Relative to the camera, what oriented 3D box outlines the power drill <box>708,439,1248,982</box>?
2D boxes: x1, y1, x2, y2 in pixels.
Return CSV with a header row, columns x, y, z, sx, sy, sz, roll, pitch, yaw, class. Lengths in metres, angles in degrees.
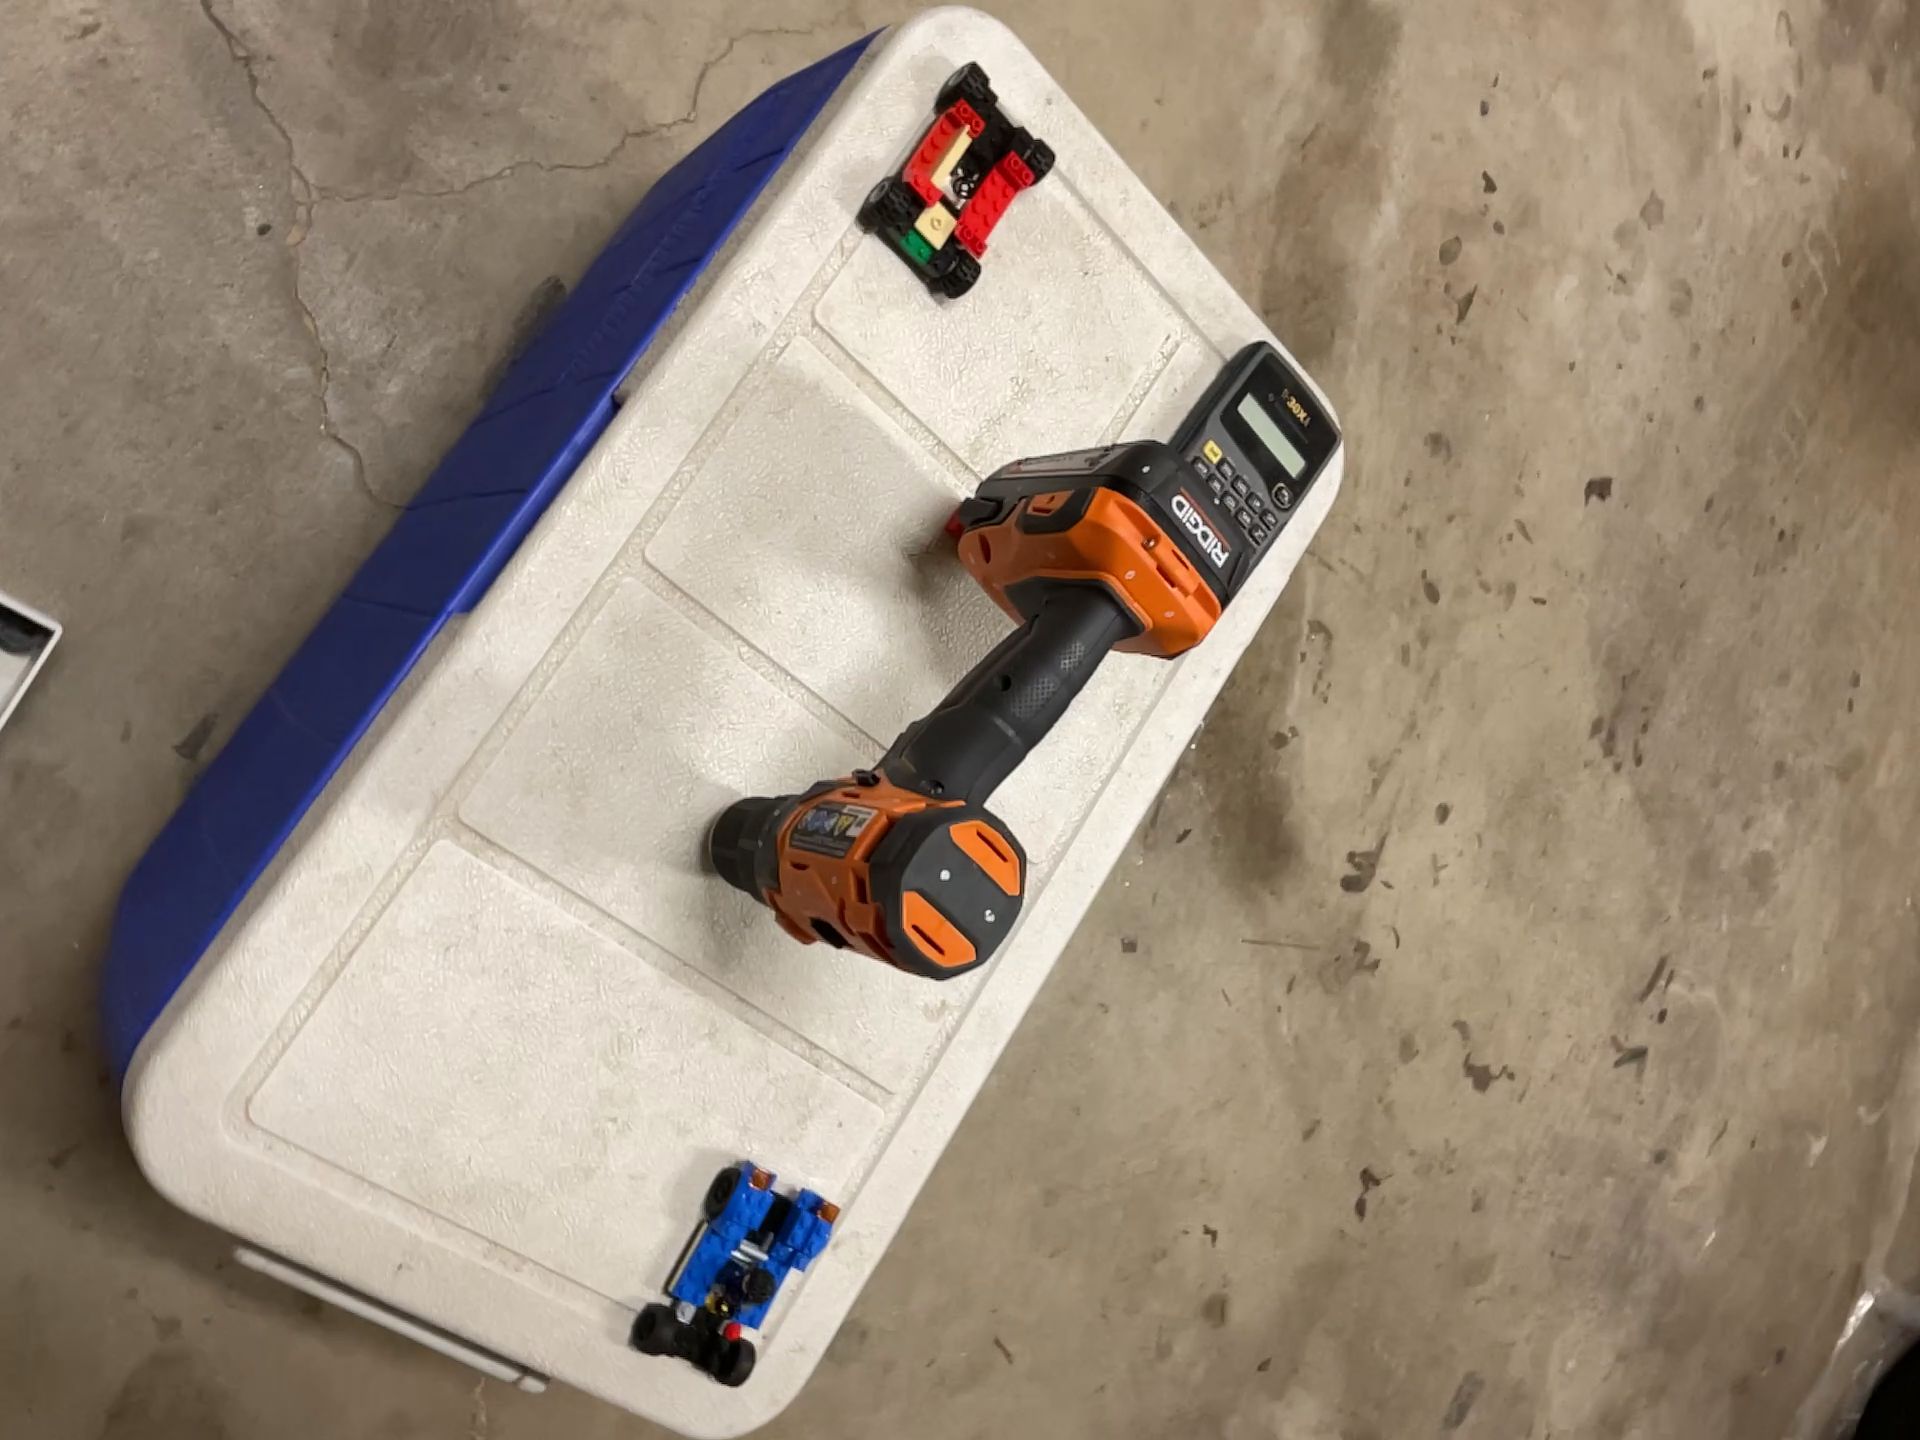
x,y,z,sx,sy,sz,roll,pitch,yaw,class
-0.004,-0.004,0.655,0.084,0.185,0.226,45,68,-26,power drill
